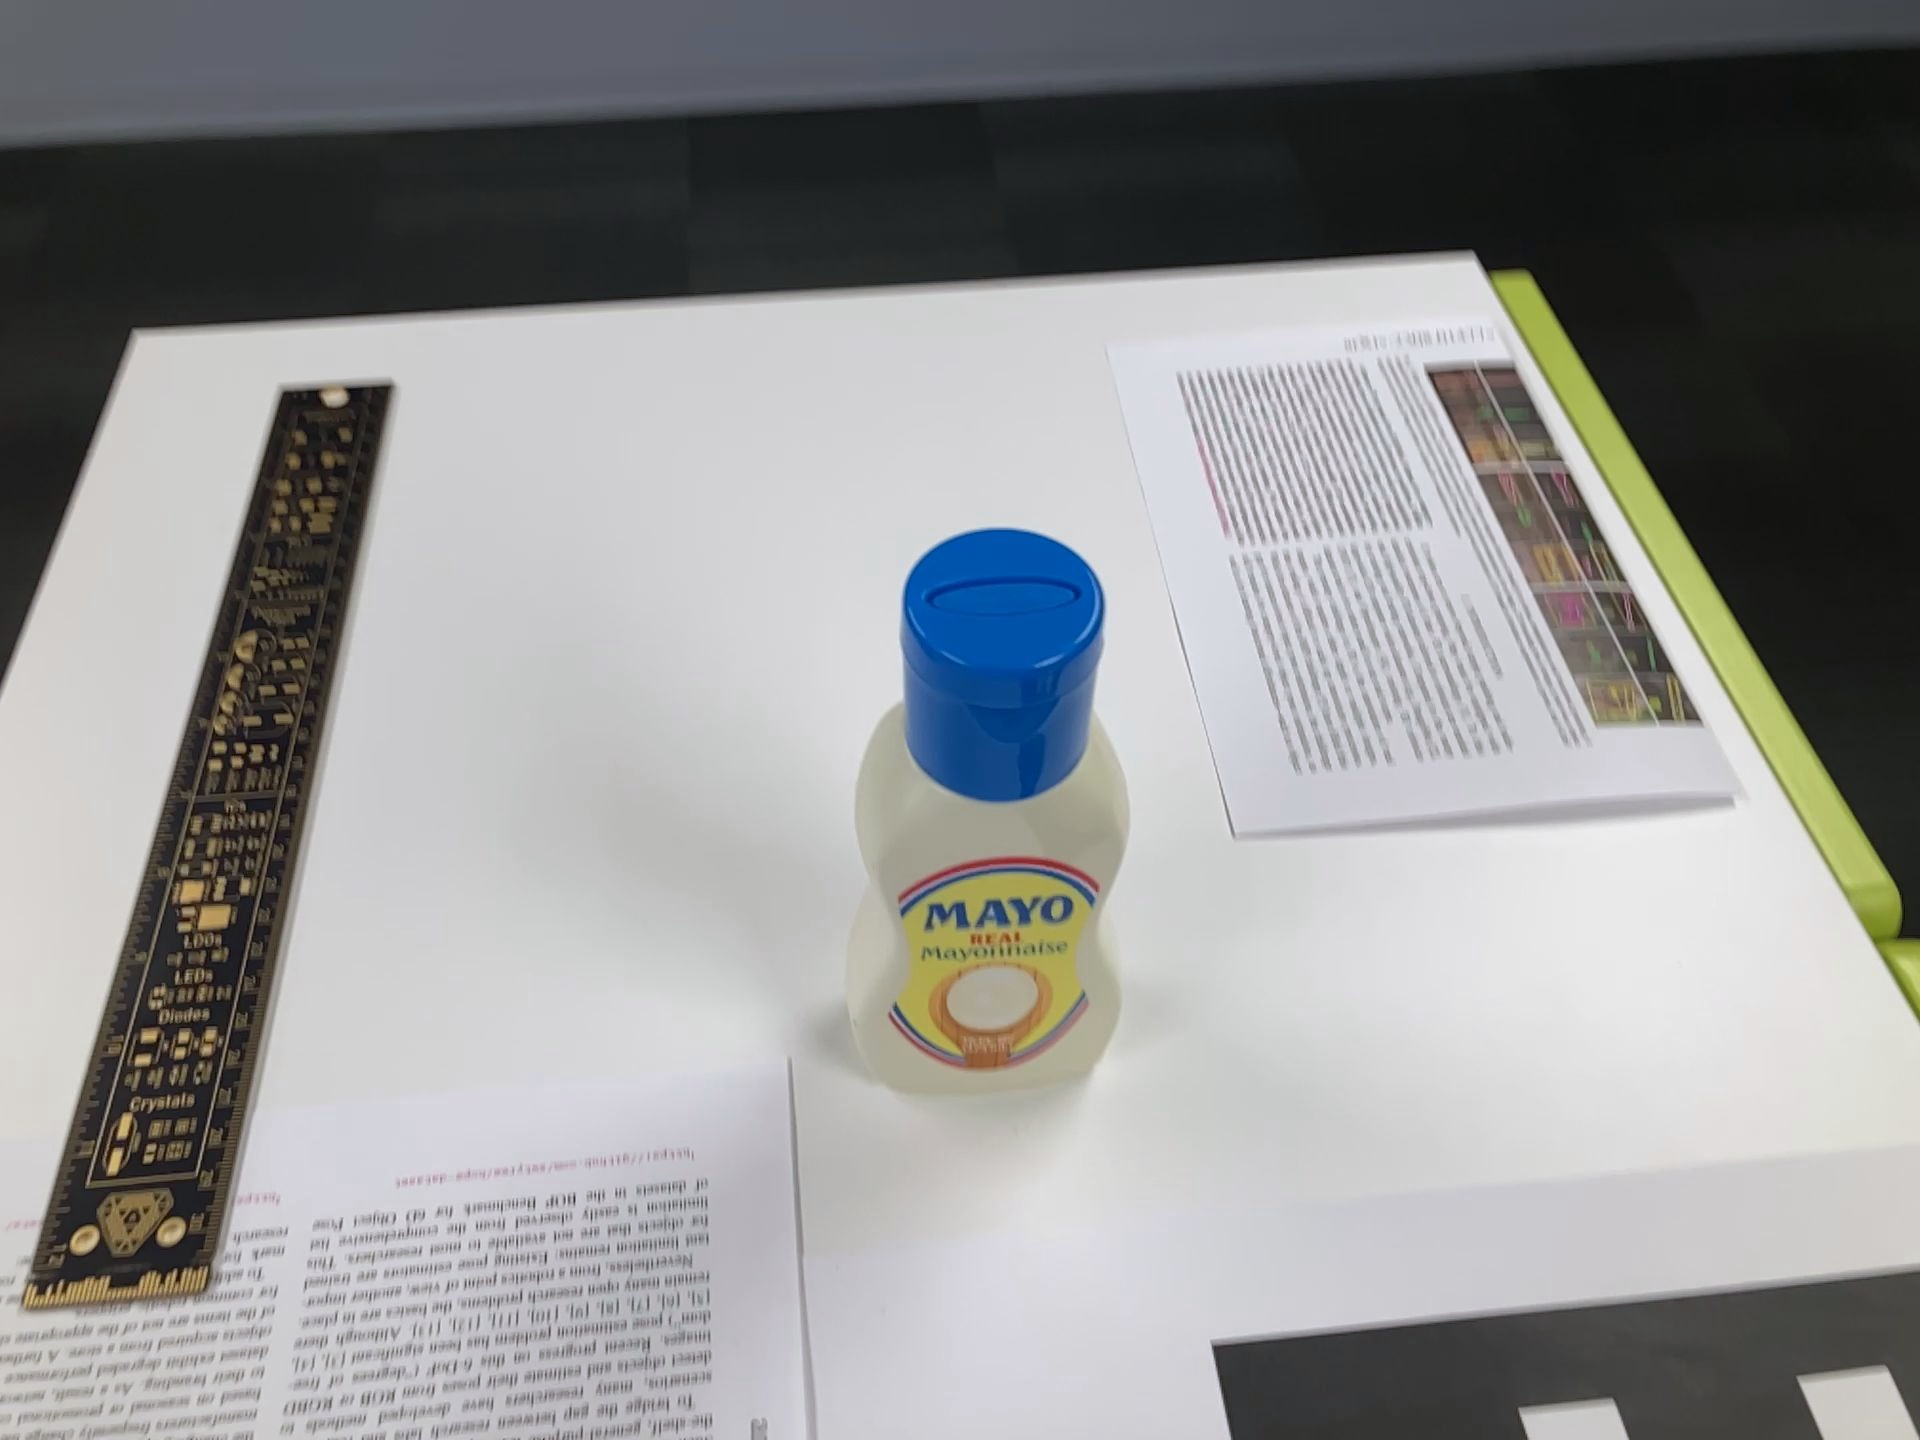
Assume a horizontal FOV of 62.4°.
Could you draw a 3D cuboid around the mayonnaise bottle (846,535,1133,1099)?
[{"bbox_3d":[0.006,0.027,0.331,0.065,0.148,0.041,-4,50,-4],"label":"mayonnaise bottle"}]
